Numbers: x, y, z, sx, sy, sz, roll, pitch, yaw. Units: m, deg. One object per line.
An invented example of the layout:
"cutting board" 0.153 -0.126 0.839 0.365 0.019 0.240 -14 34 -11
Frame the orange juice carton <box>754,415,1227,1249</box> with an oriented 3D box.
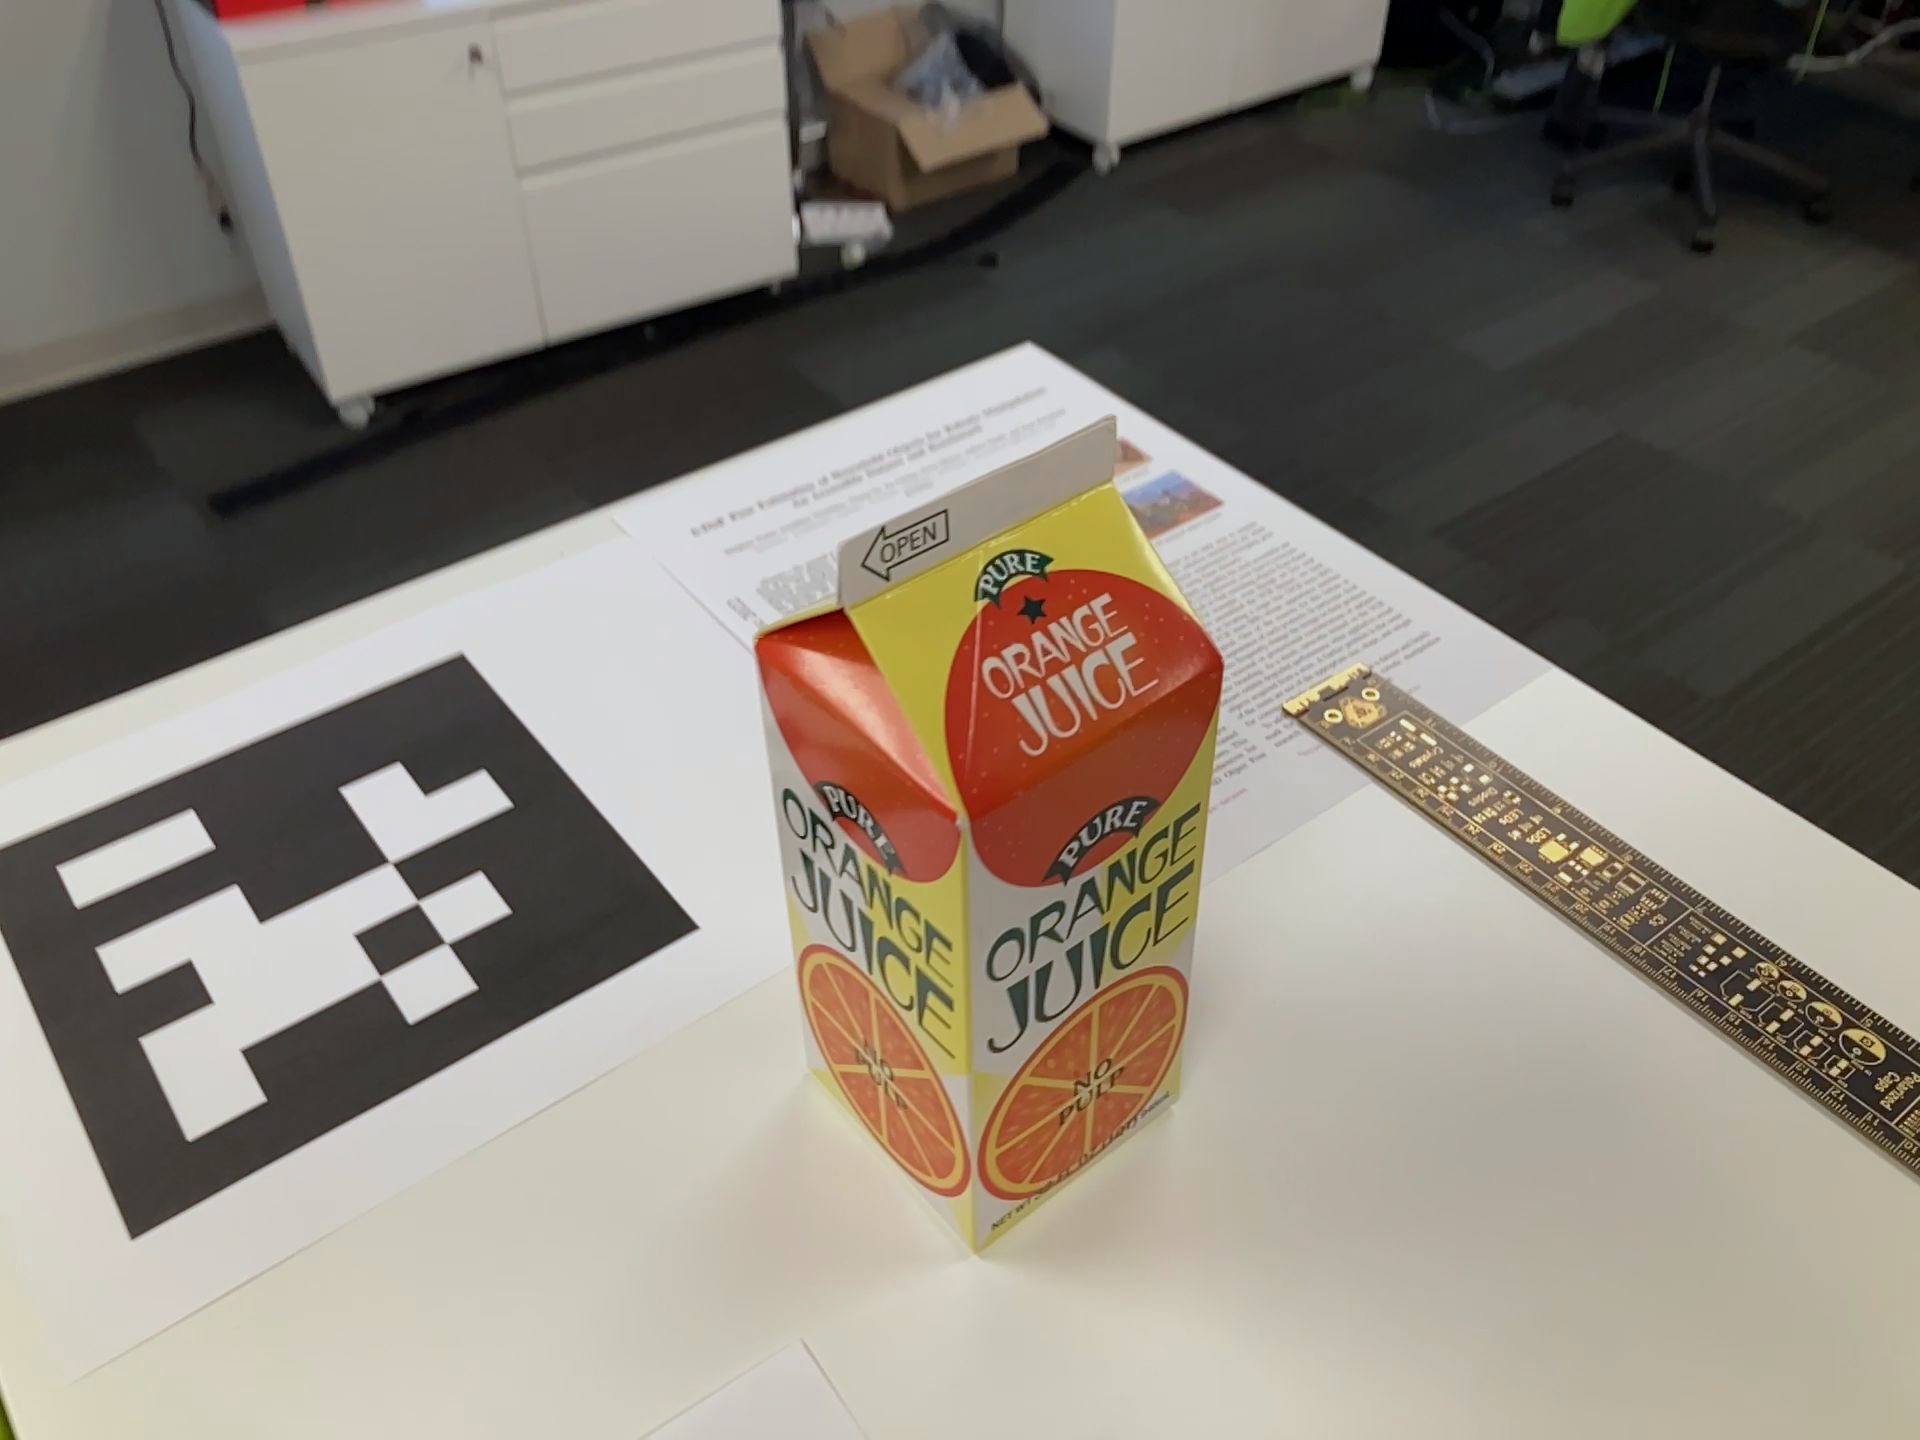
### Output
"orange juice carton" 0.007 0.026 0.361 0.072 0.192 0.073 -29 48 -28
